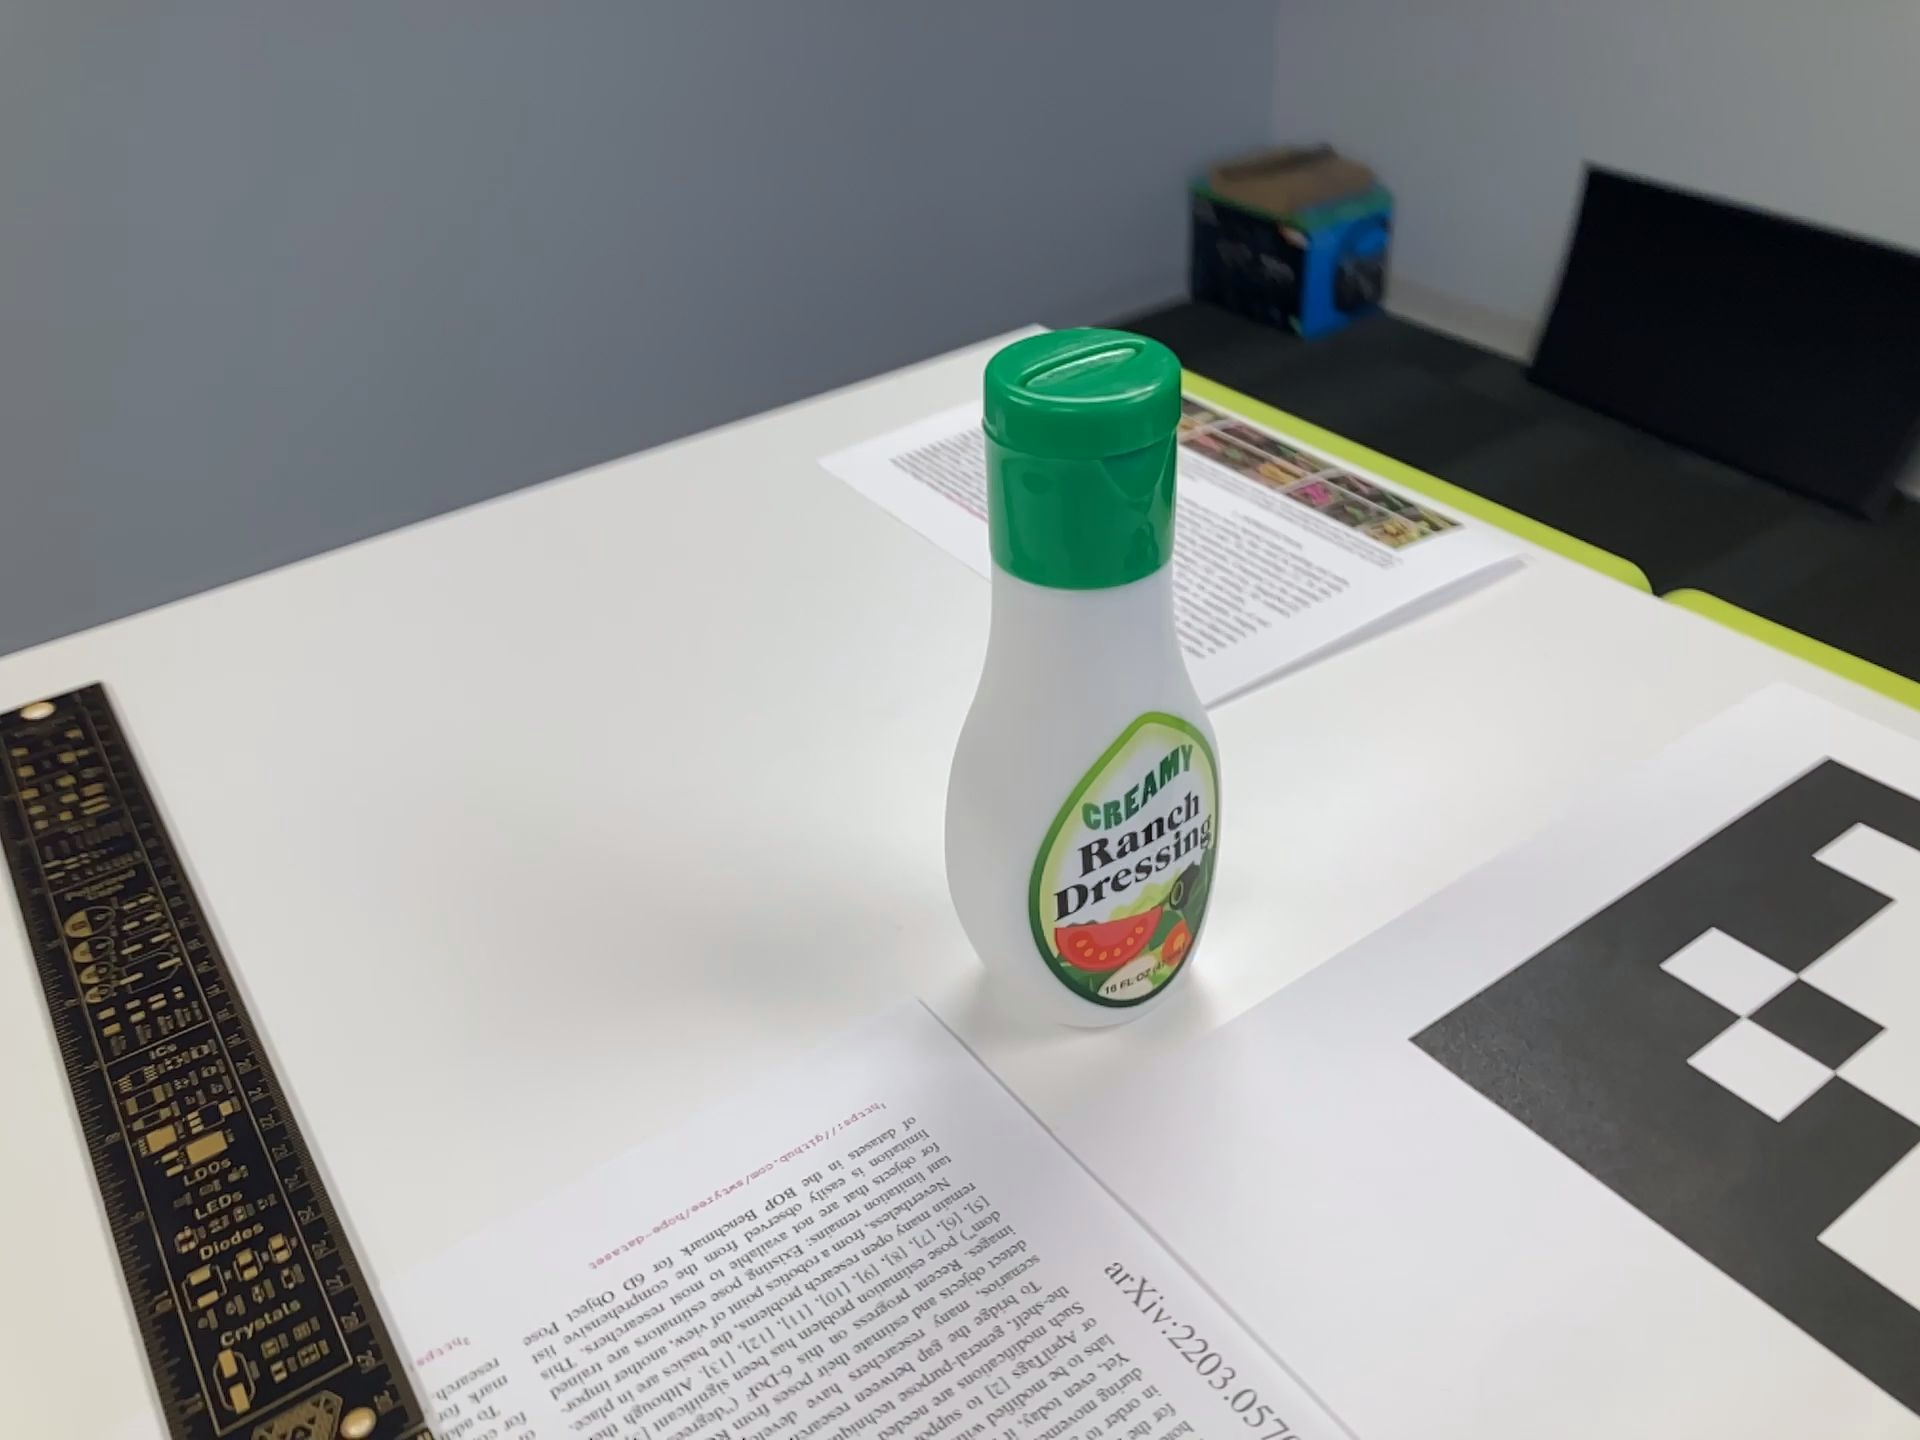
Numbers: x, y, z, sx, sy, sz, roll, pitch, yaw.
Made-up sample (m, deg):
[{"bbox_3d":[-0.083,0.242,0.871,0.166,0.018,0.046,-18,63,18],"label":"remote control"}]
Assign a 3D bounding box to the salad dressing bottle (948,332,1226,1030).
[{"bbox_3d":[0.026,-0.003,0.328,0.064,0.147,0.044,-24,39,-26],"label":"salad dressing bottle"}]
